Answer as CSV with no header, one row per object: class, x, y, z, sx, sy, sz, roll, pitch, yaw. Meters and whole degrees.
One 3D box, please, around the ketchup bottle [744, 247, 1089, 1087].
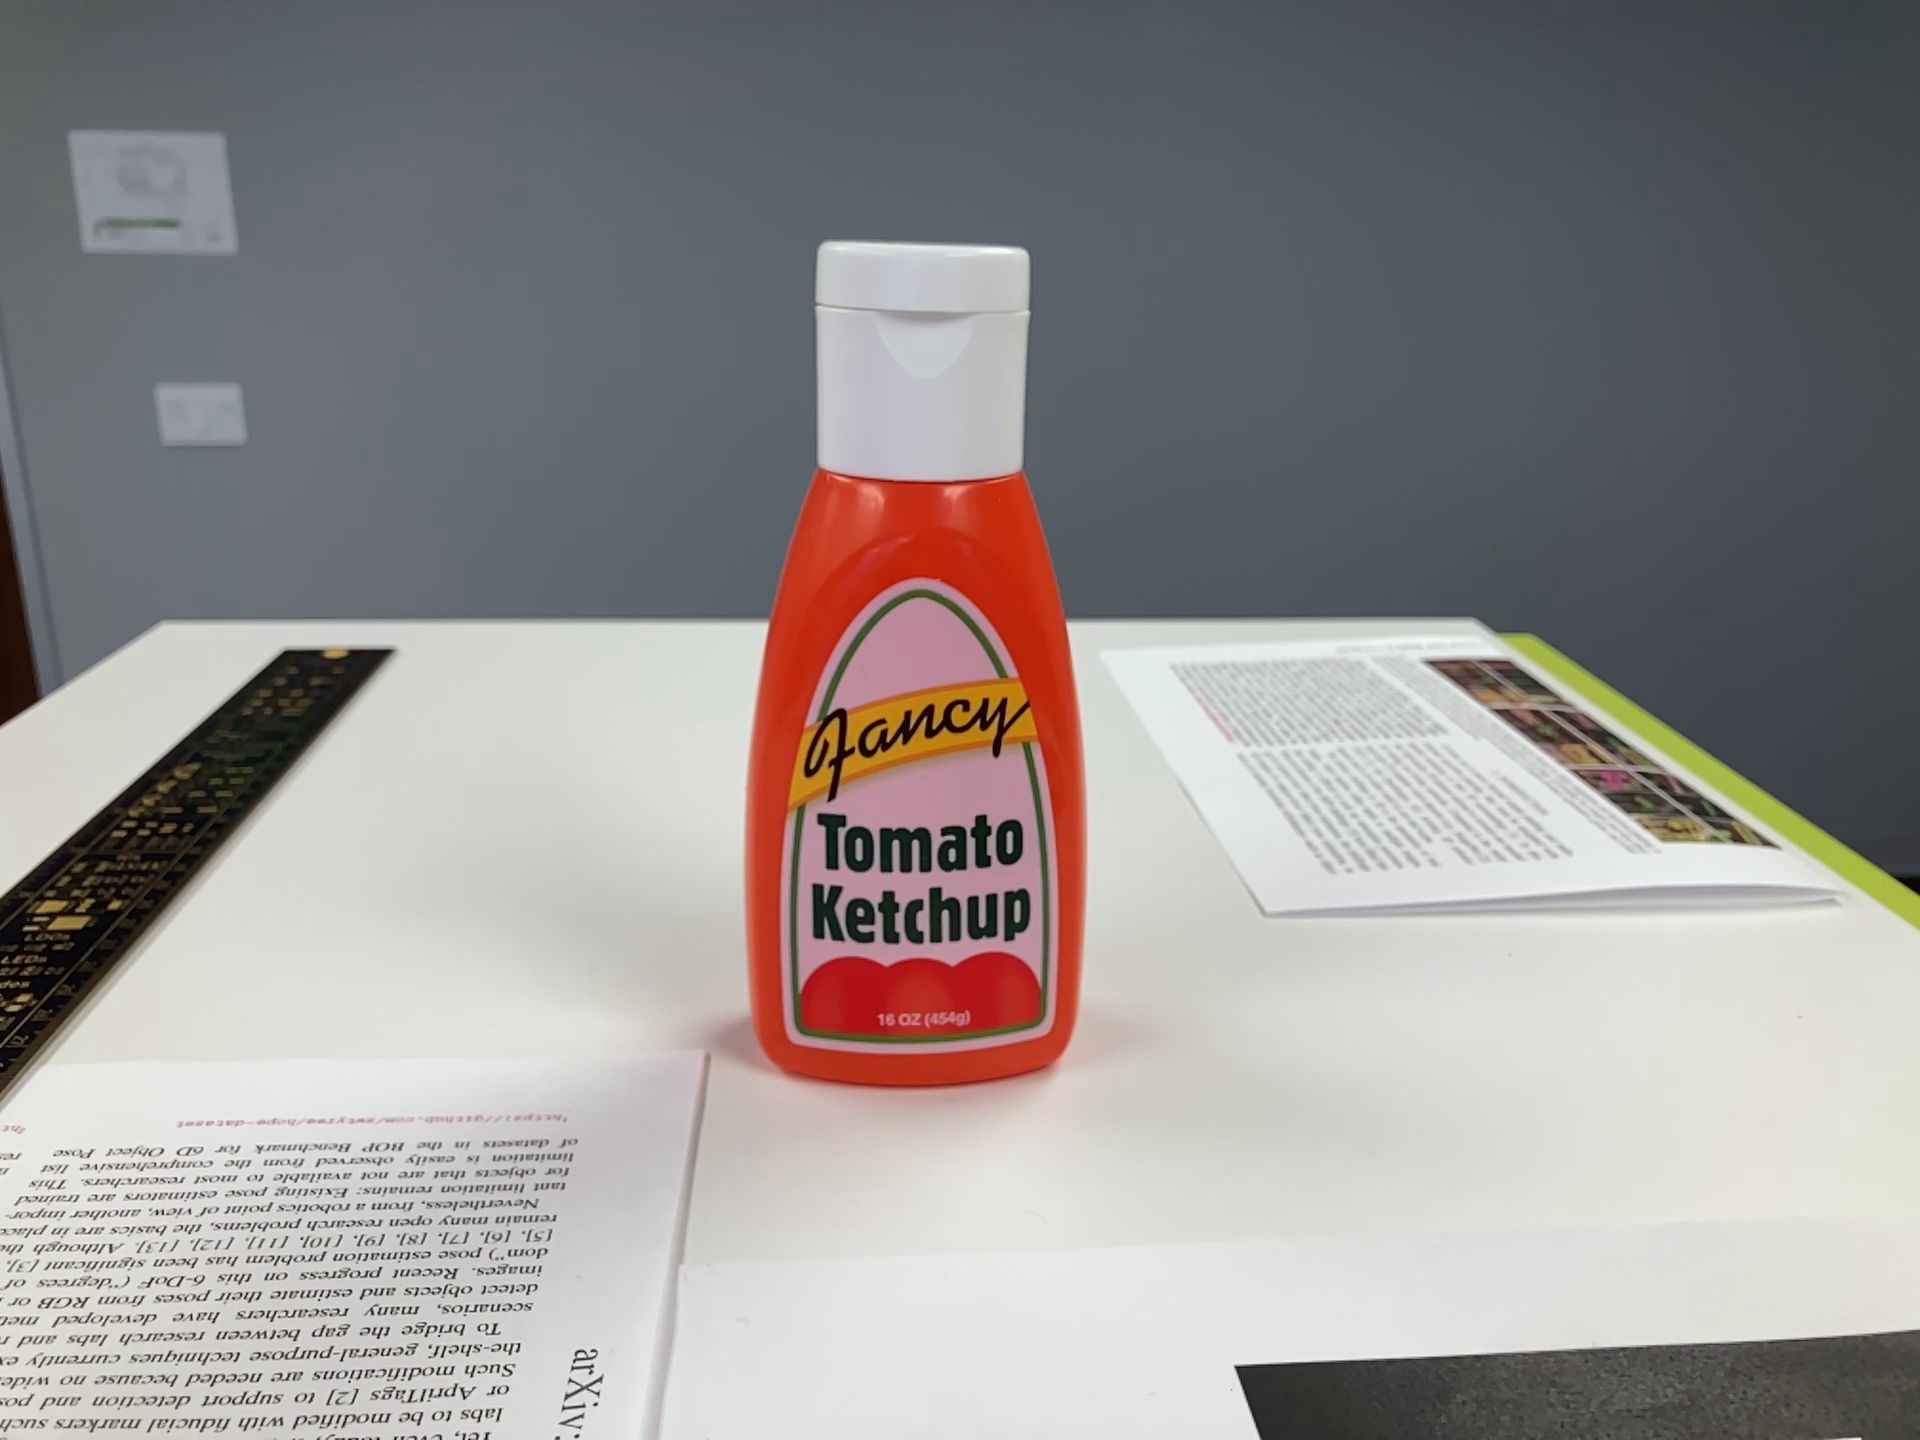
ketchup bottle,-0.008,-0.009,0.292,0.065,0.149,0.043,0,16,-3
